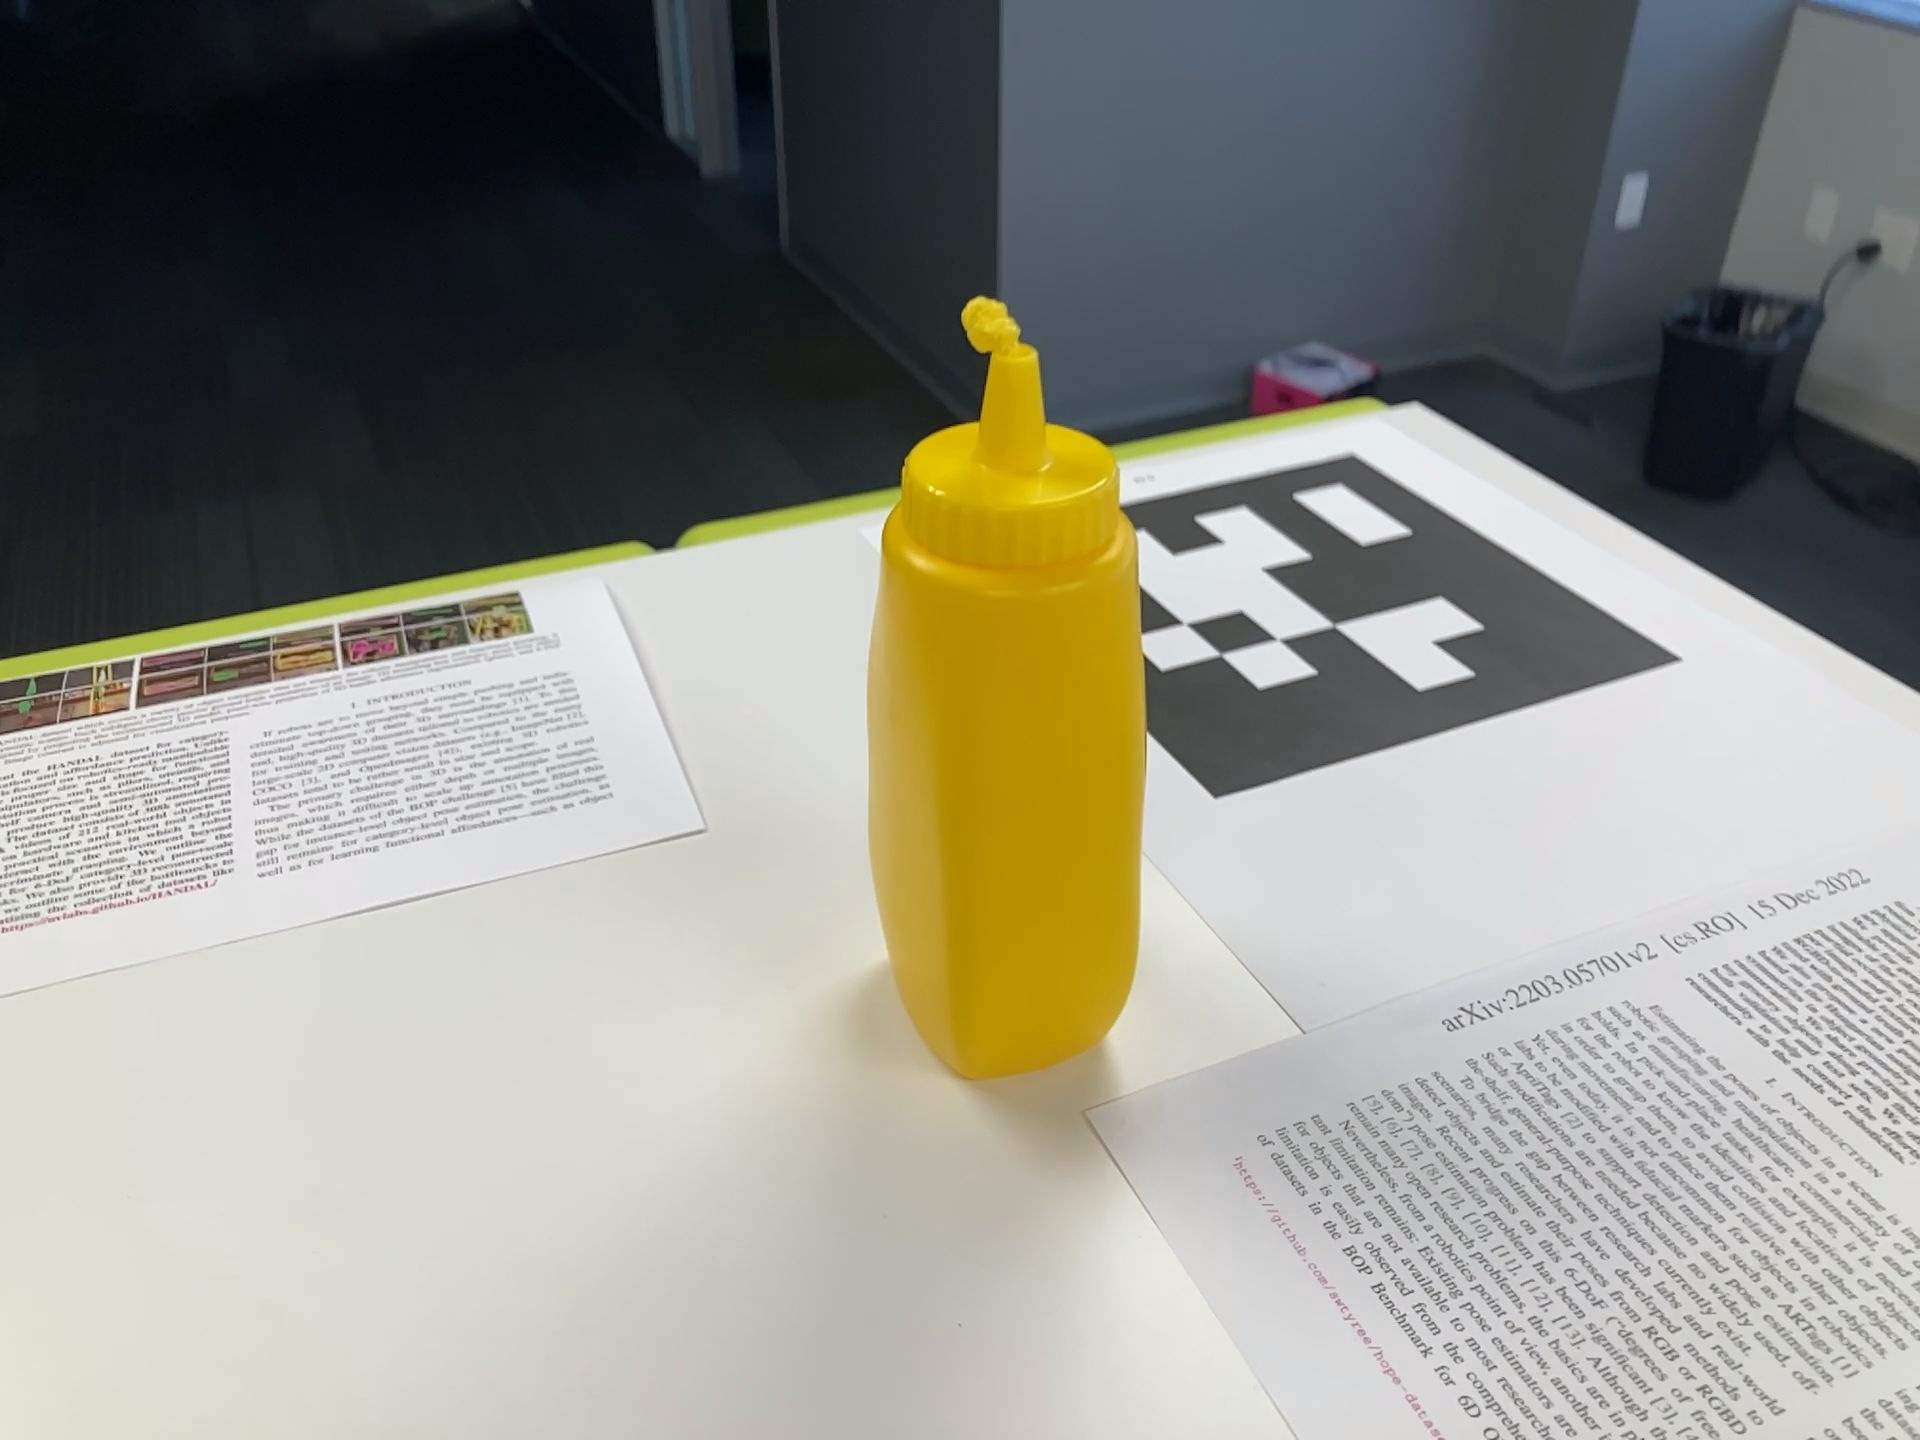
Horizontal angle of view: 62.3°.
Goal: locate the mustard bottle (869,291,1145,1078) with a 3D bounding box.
[{"bbox_3d":[0.009,-0.004,0.310,0.049,0.160,0.065,-10,36,-17],"label":"mustard bottle"}]
